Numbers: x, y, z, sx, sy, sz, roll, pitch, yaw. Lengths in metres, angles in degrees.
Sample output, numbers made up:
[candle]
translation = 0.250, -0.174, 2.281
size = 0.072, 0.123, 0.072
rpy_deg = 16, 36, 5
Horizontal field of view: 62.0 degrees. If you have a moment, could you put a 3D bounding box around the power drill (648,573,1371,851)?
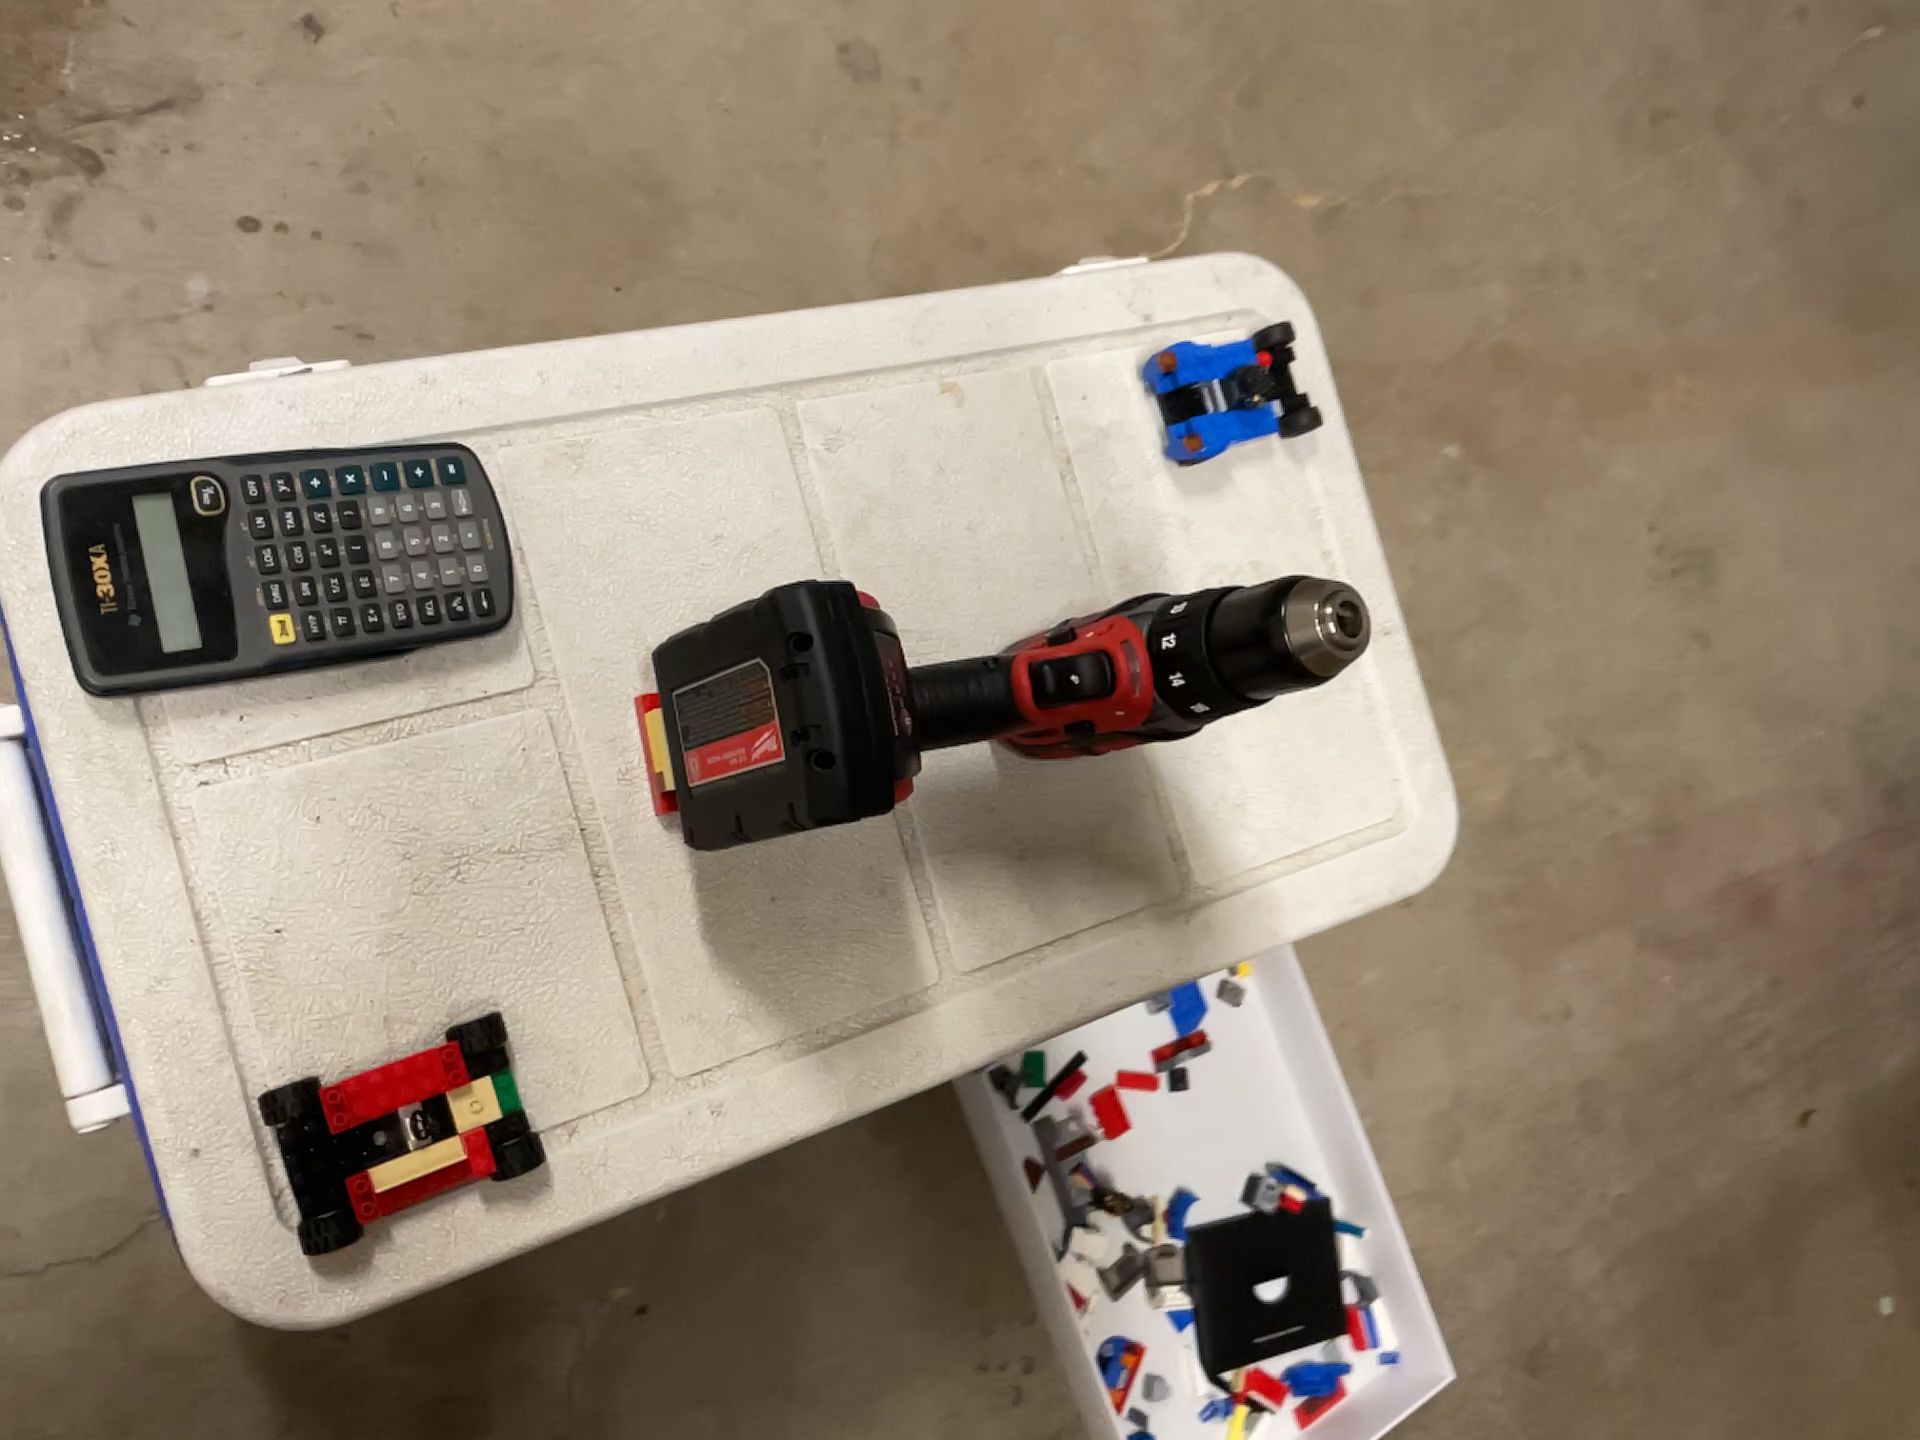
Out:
[power drill]
translation = 0.021, -0.013, 0.596
size = 0.227, 0.187, 0.080
rpy_deg = -8, 86, -37
